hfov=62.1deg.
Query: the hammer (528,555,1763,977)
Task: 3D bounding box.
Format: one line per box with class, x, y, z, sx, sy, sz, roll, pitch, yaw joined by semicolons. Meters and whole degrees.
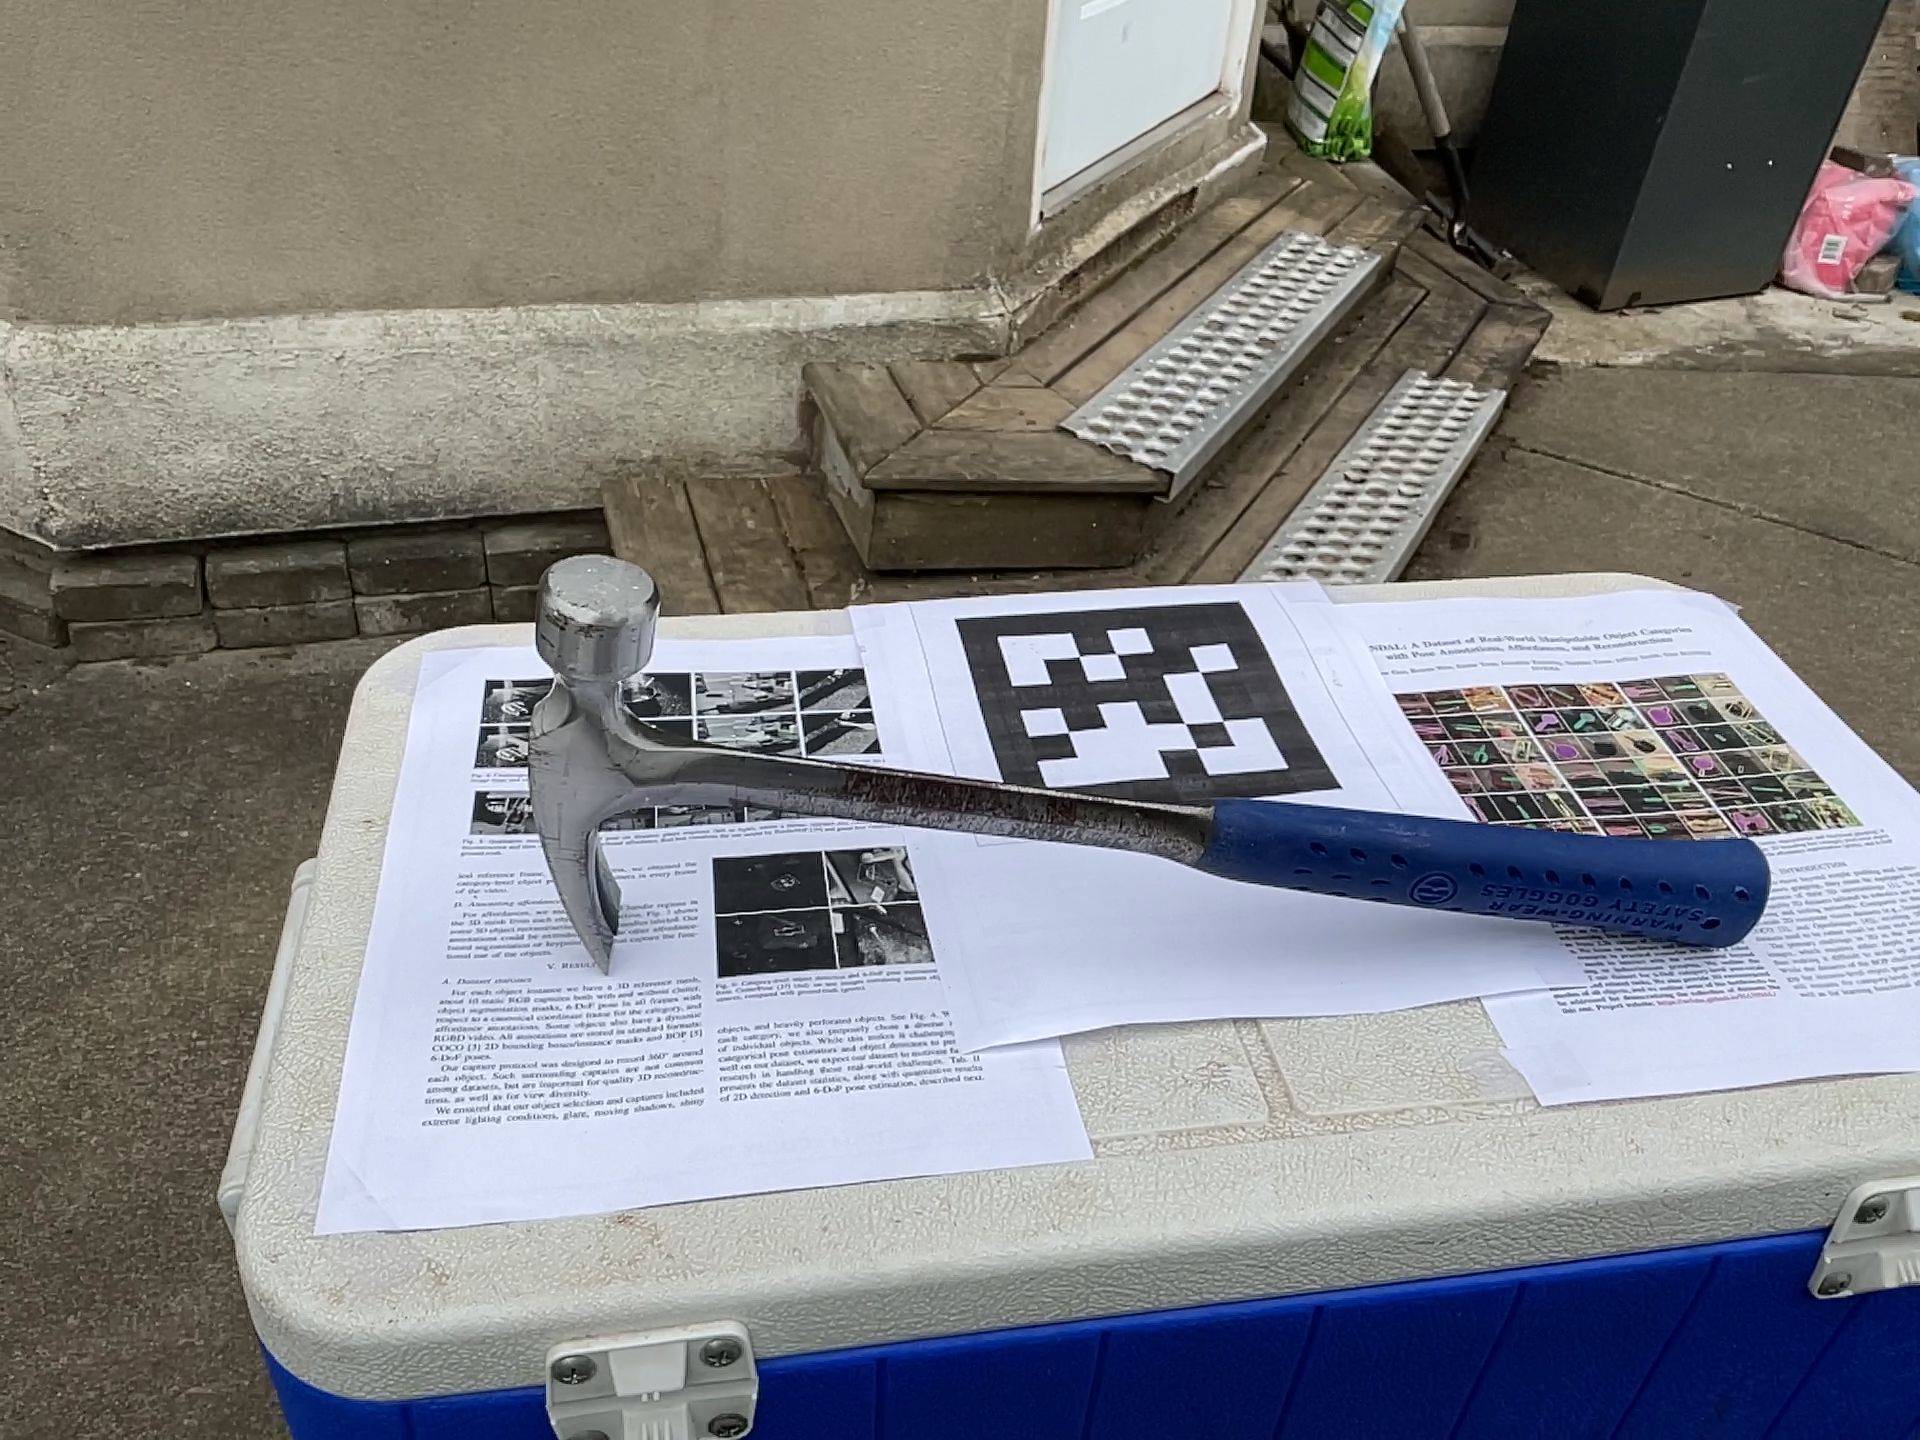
hammer;0.066;0.040;0.523;0.405;0.144;0.035;7;37;-10
